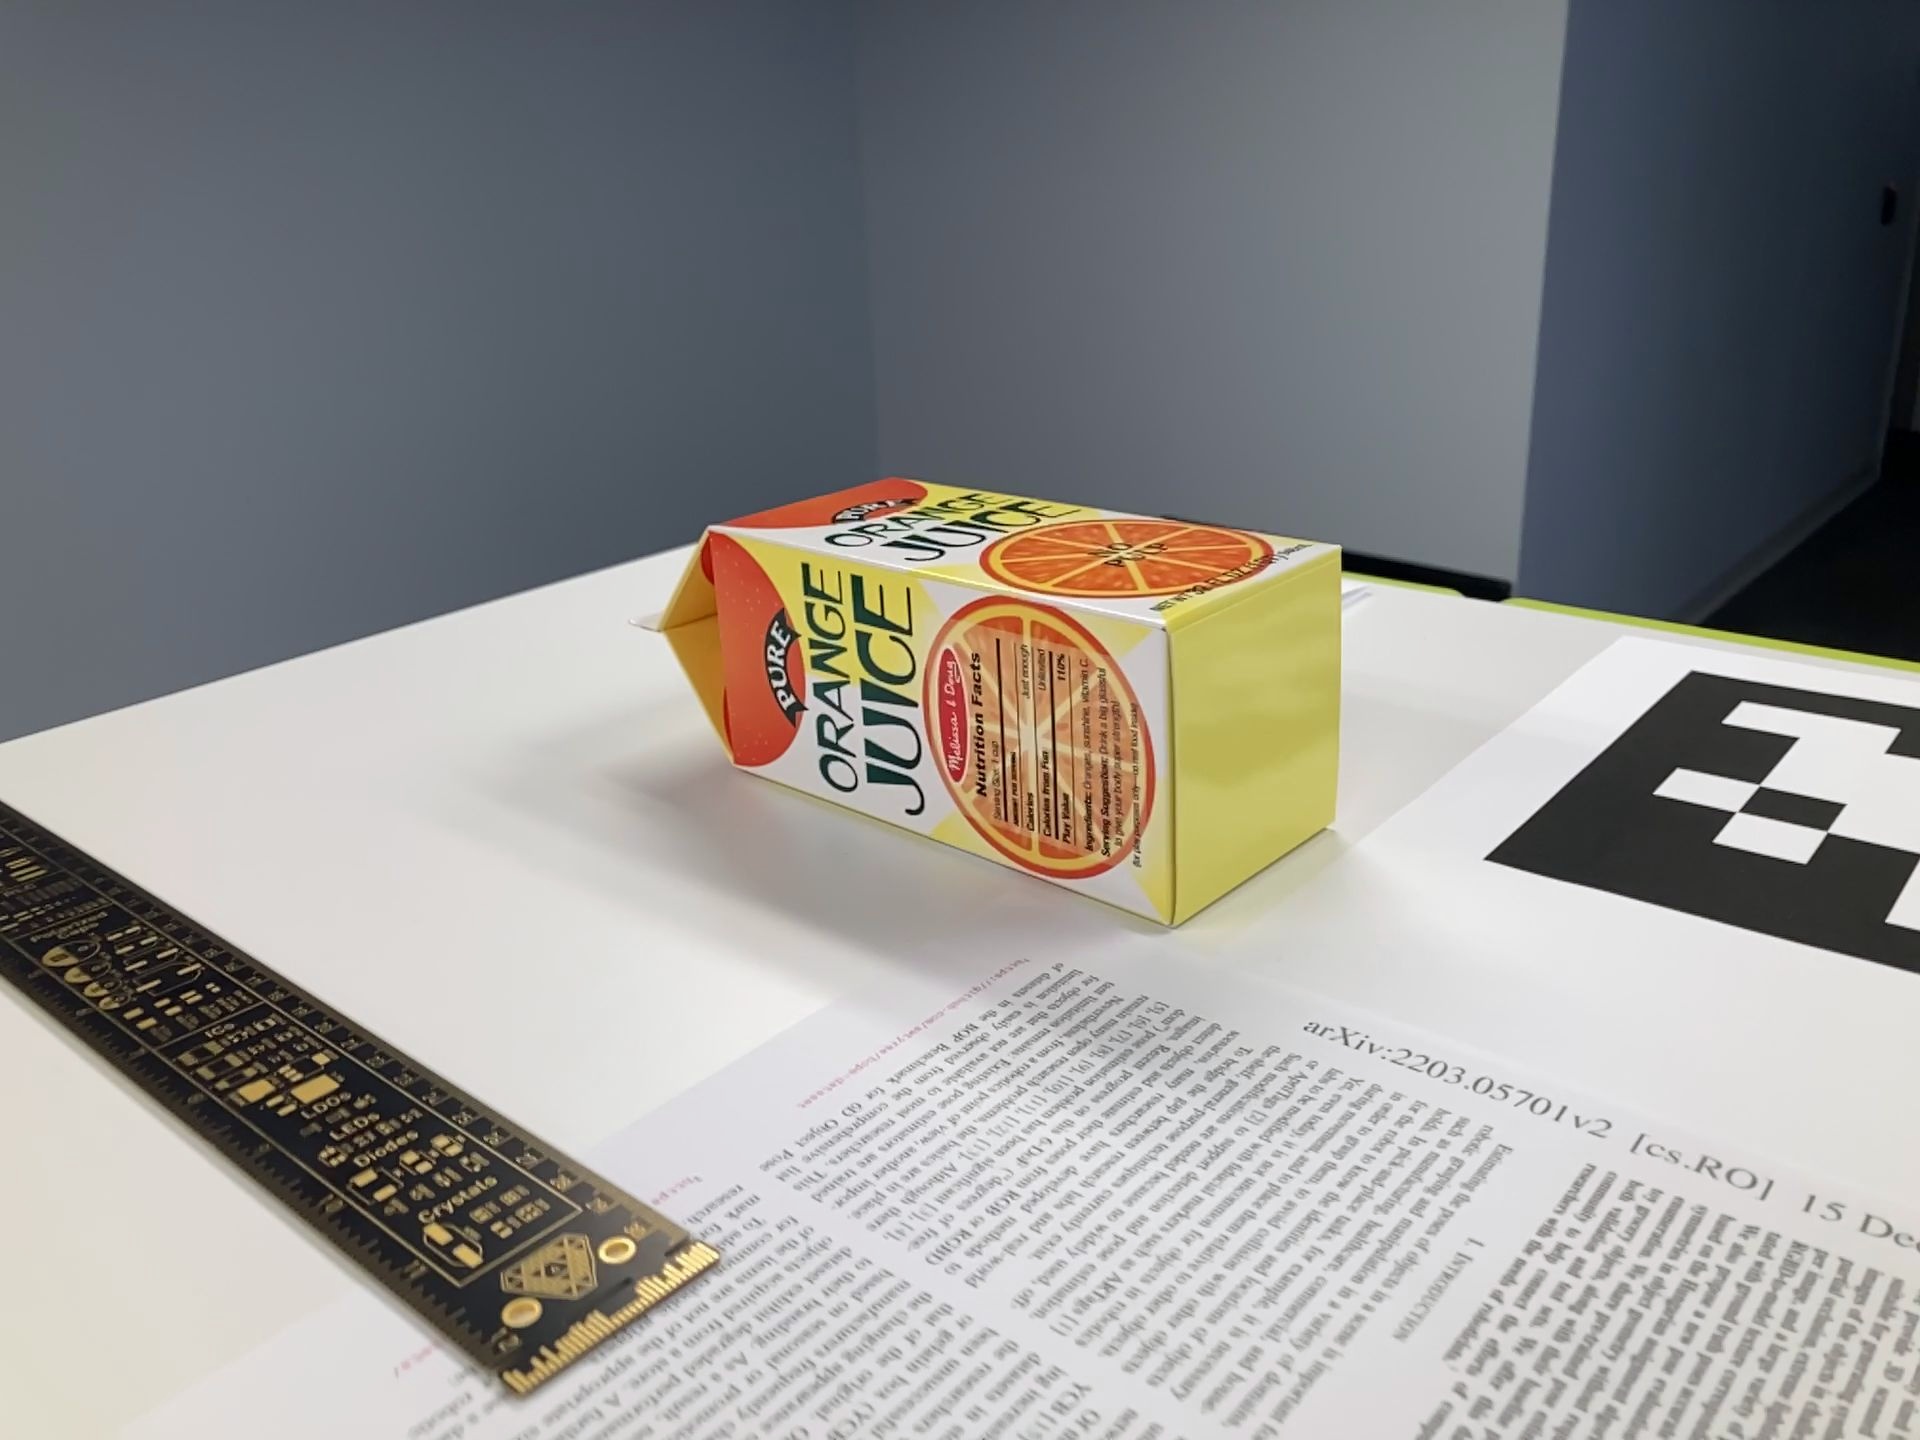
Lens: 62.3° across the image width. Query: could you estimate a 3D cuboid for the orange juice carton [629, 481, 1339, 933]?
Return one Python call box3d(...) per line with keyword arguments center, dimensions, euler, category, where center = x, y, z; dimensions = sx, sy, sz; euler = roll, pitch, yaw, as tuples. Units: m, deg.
box3d(center=(-0.002, -0.016, 0.422), dimensions=(0.192, 0.073, 0.072), euler=(16, 28, 39), category="orange juice carton")
